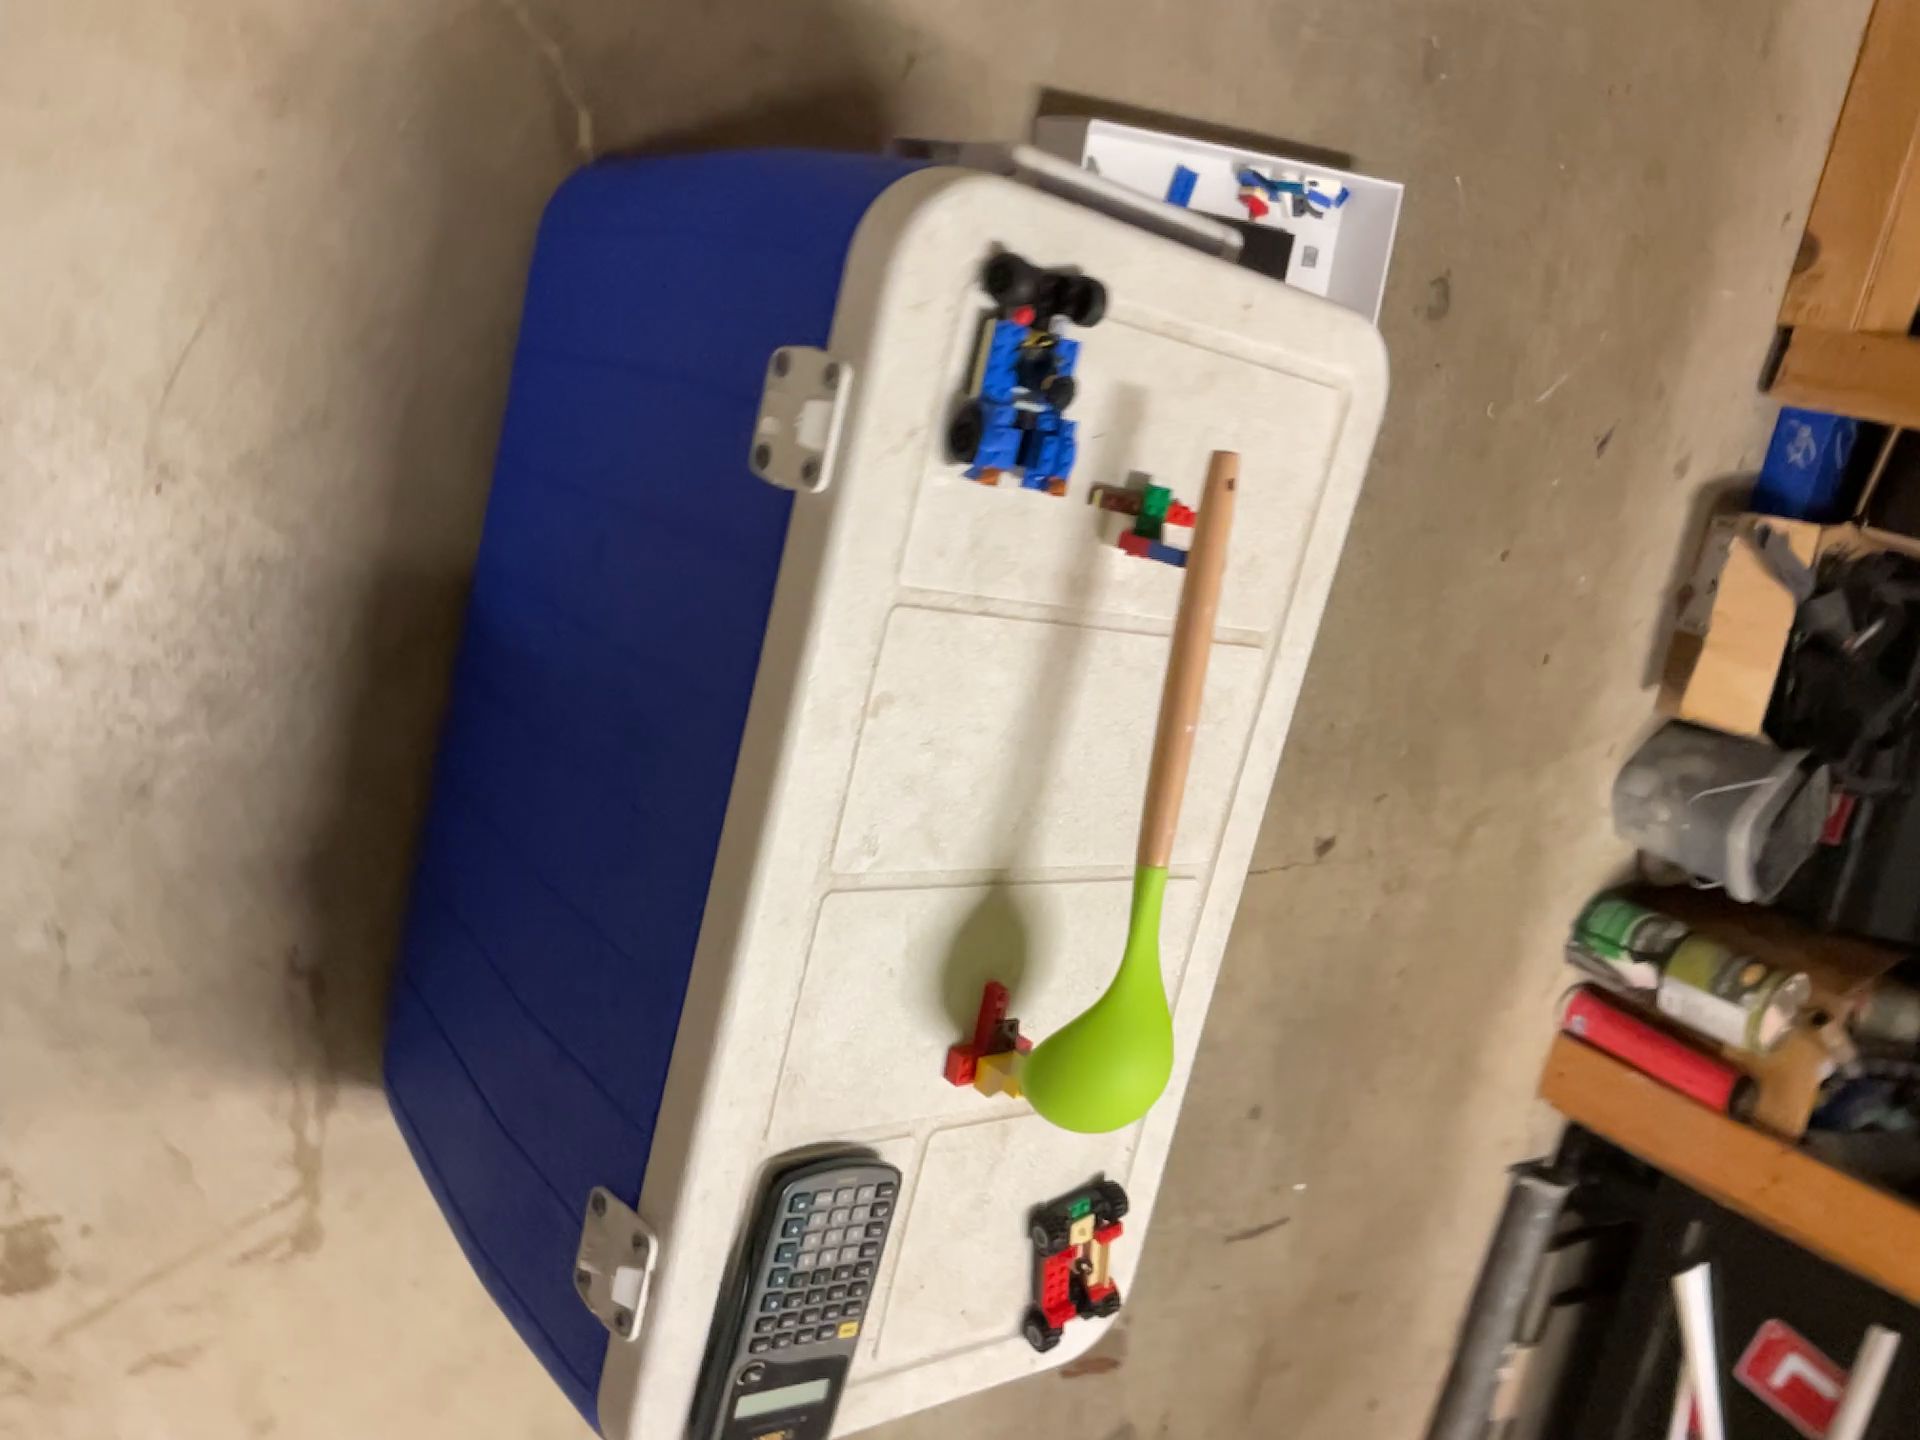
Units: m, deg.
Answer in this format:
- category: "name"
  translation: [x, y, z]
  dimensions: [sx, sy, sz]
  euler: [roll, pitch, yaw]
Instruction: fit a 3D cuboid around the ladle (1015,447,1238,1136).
- category: "ladle"
  translation: [0.083, 0.037, 0.723]
  dimensions: [0.078, 0.062, 0.320]
  euler: [3, 99, -36]
